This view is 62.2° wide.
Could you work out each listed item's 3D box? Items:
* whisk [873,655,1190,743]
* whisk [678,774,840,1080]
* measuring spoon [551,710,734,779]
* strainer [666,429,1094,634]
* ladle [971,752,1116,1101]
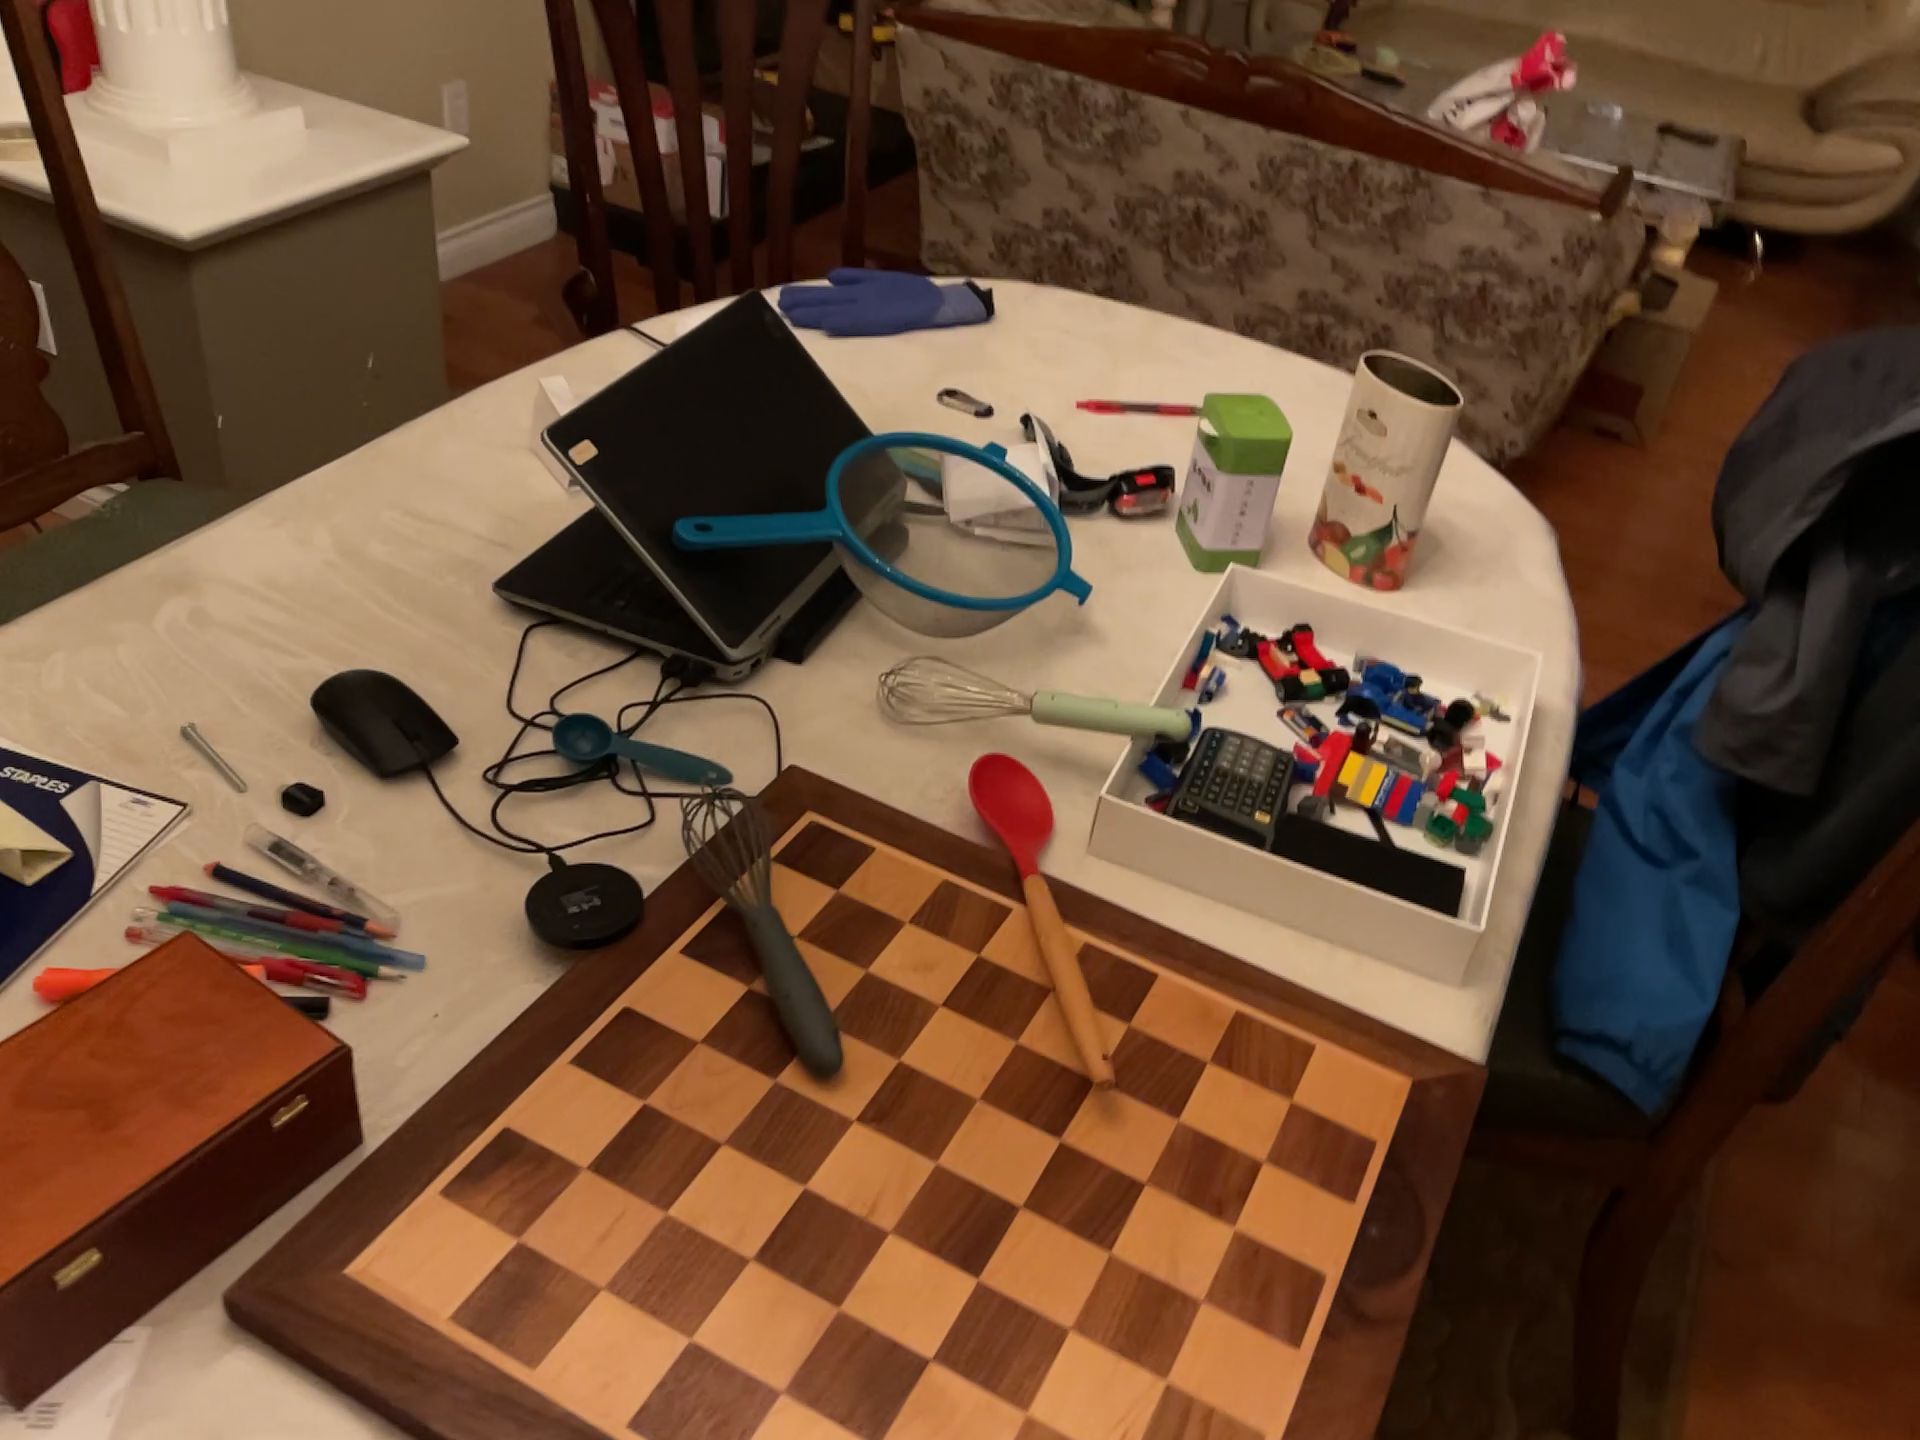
[{"bbox_3d":[0.048,-0.011,1.155,0.246,0.057,0.059,8,64,23],"label":"whisk"},{"bbox_3d":[-0.121,0.121,0.957,0.055,0.055,0.239,-20,47,-13],"label":"whisk"},{"bbox_3d":[-0.222,0.026,1.111,0.128,0.021,0.042,16,43,-11],"label":"measuring spoon"},{"bbox_3d":[-0.076,-0.130,1.275,0.340,0.095,0.211,-7,52,-28],"label":"strainer"},{"bbox_3d":[0.055,0.121,1.002,0.069,0.031,0.316,20,27,-22],"label":"ladle"}]
